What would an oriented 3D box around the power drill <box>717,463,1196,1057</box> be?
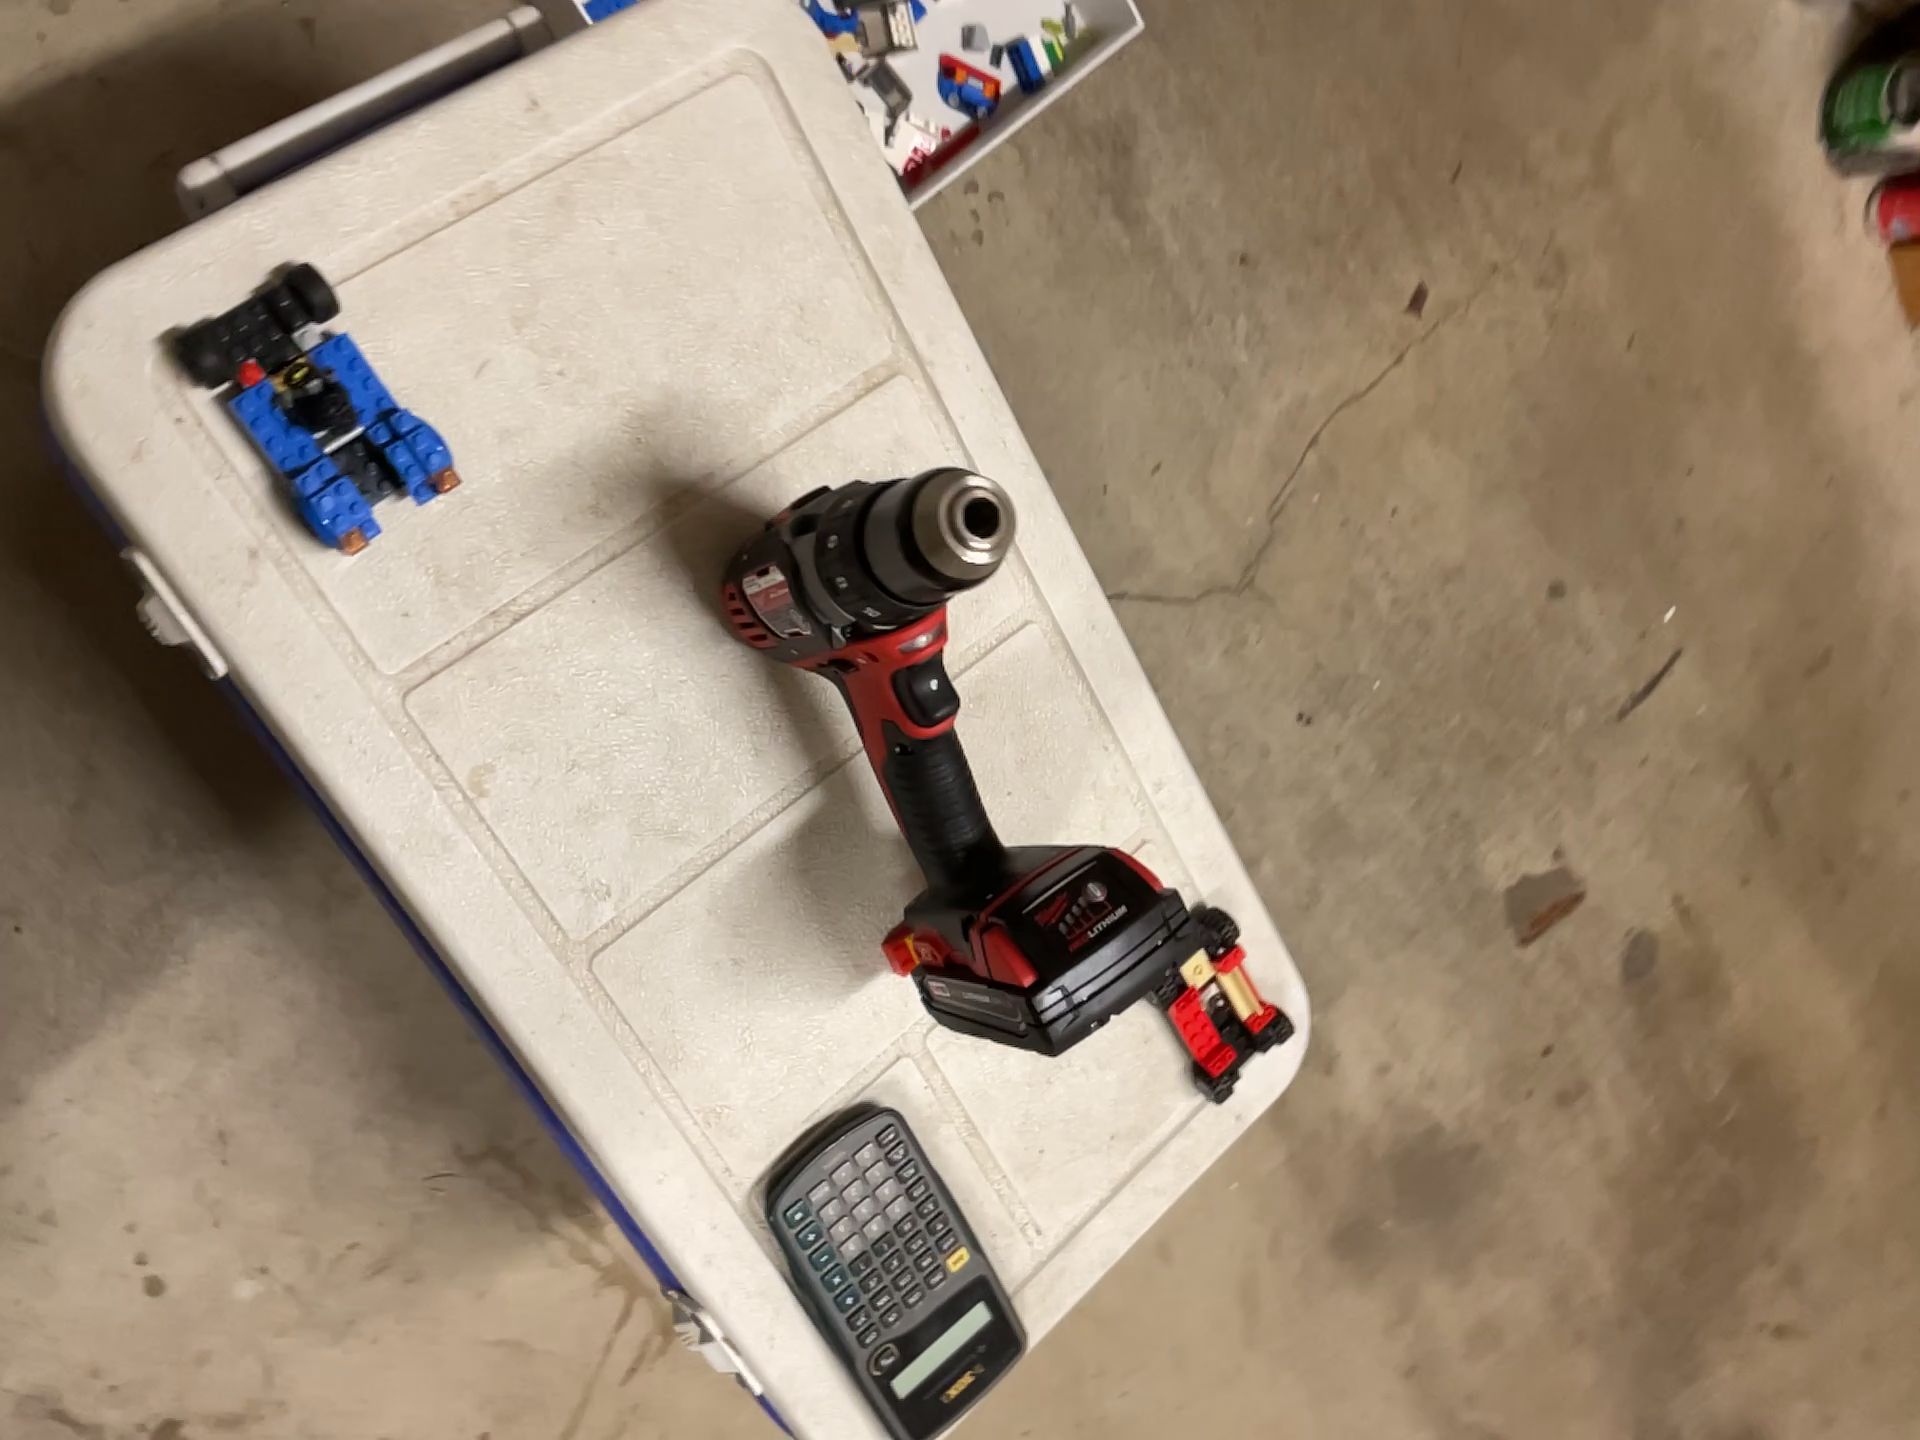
[{"bbox_3d":[0.000,0.010,0.609,0.080,0.187,0.226,-32,100,-26],"label":"power drill"}]
